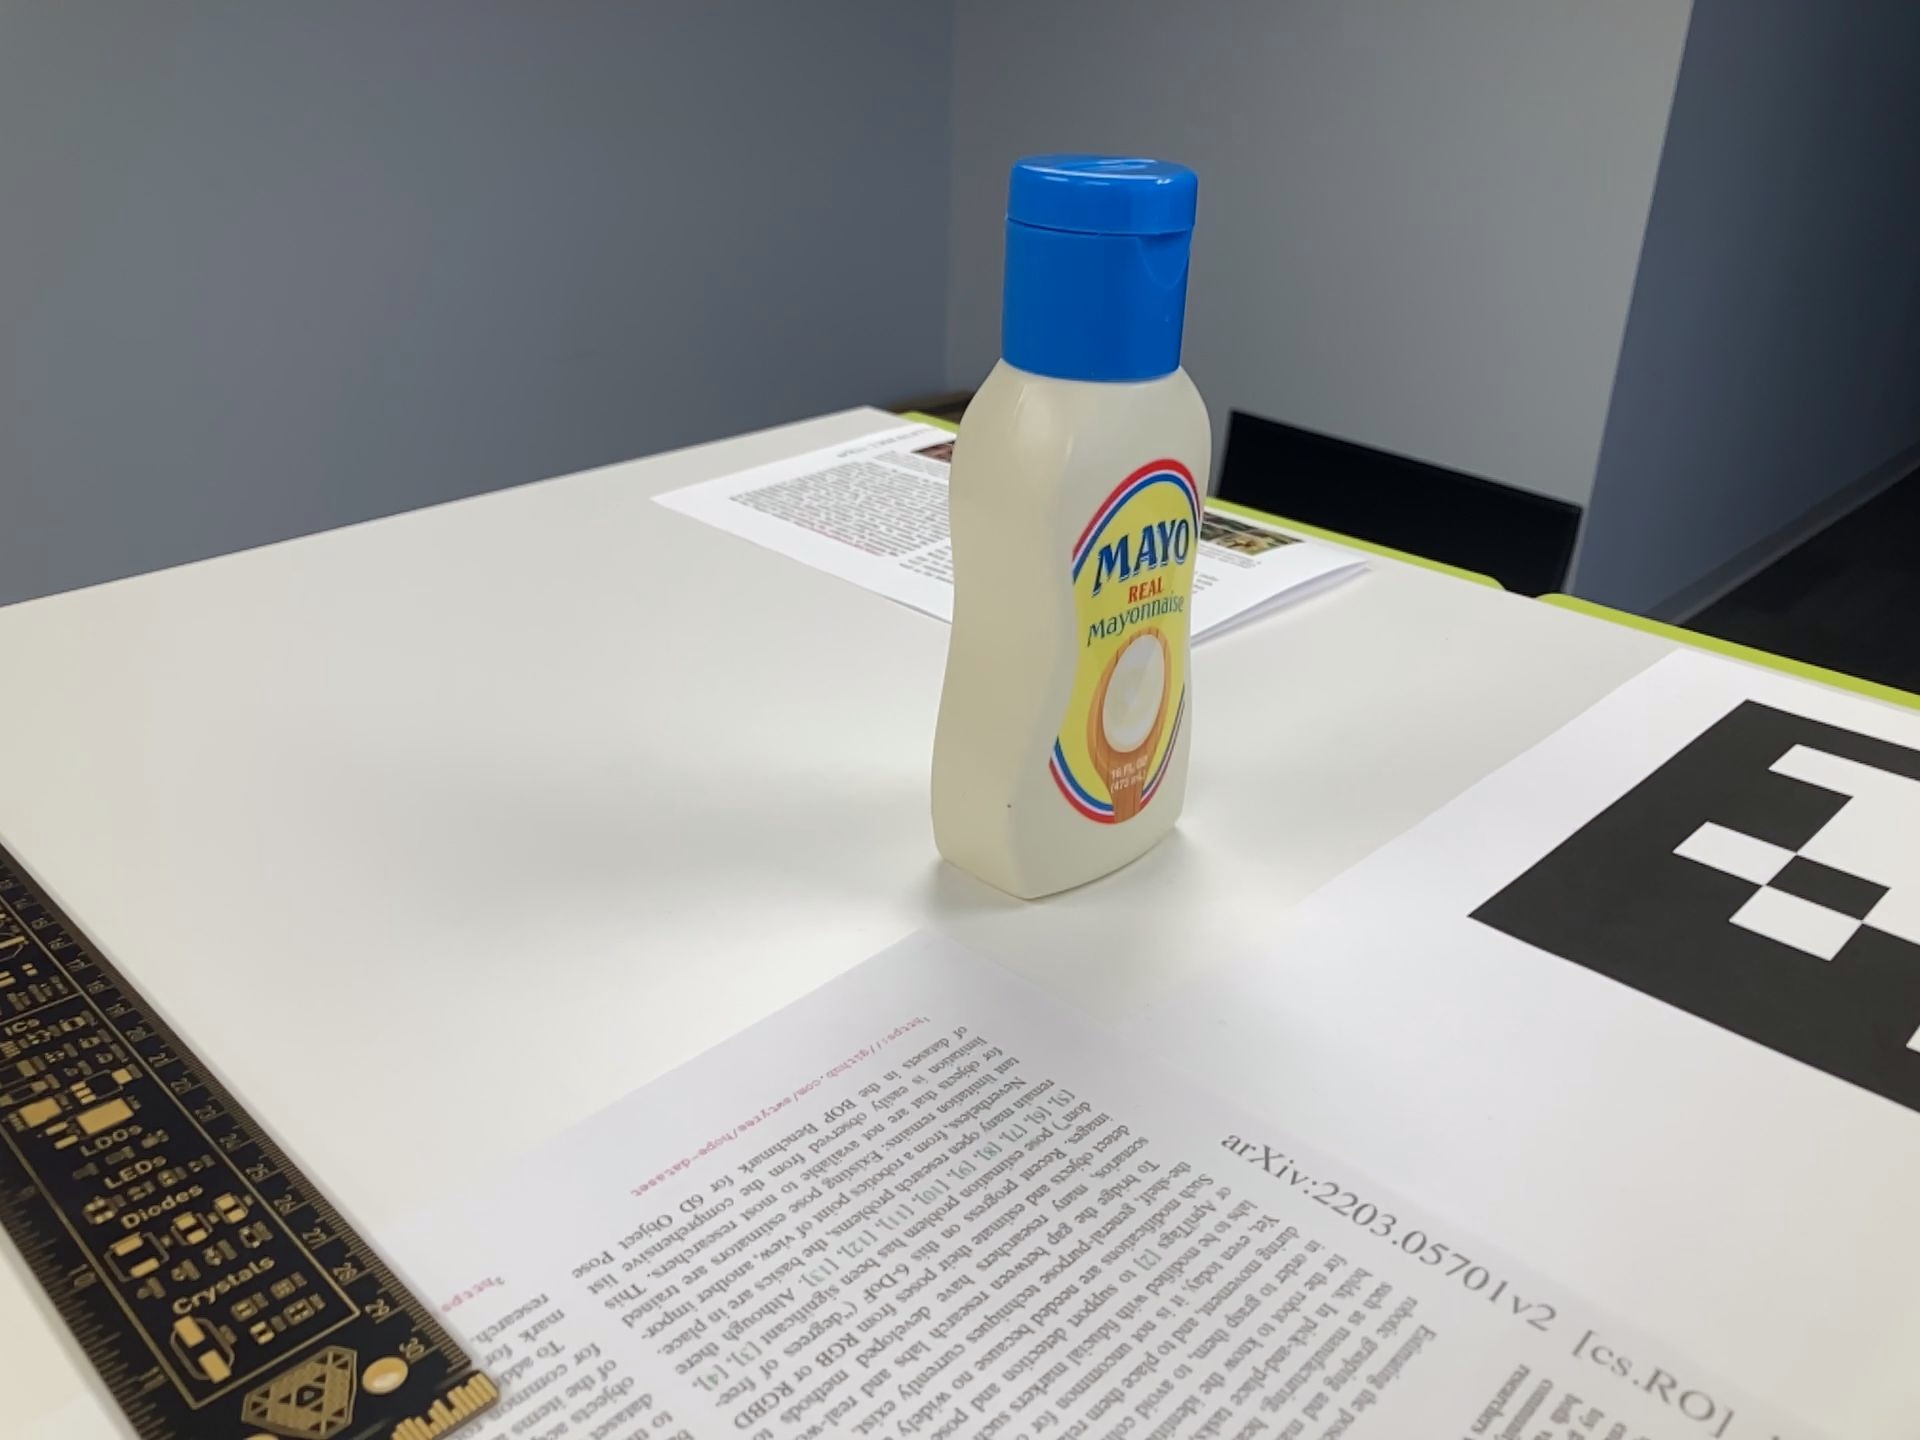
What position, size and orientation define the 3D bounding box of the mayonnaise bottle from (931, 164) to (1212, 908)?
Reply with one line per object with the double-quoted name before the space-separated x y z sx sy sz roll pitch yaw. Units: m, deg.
"mayonnaise bottle" 0.025 -0.037 0.332 0.041 0.148 0.065 24 33 38
